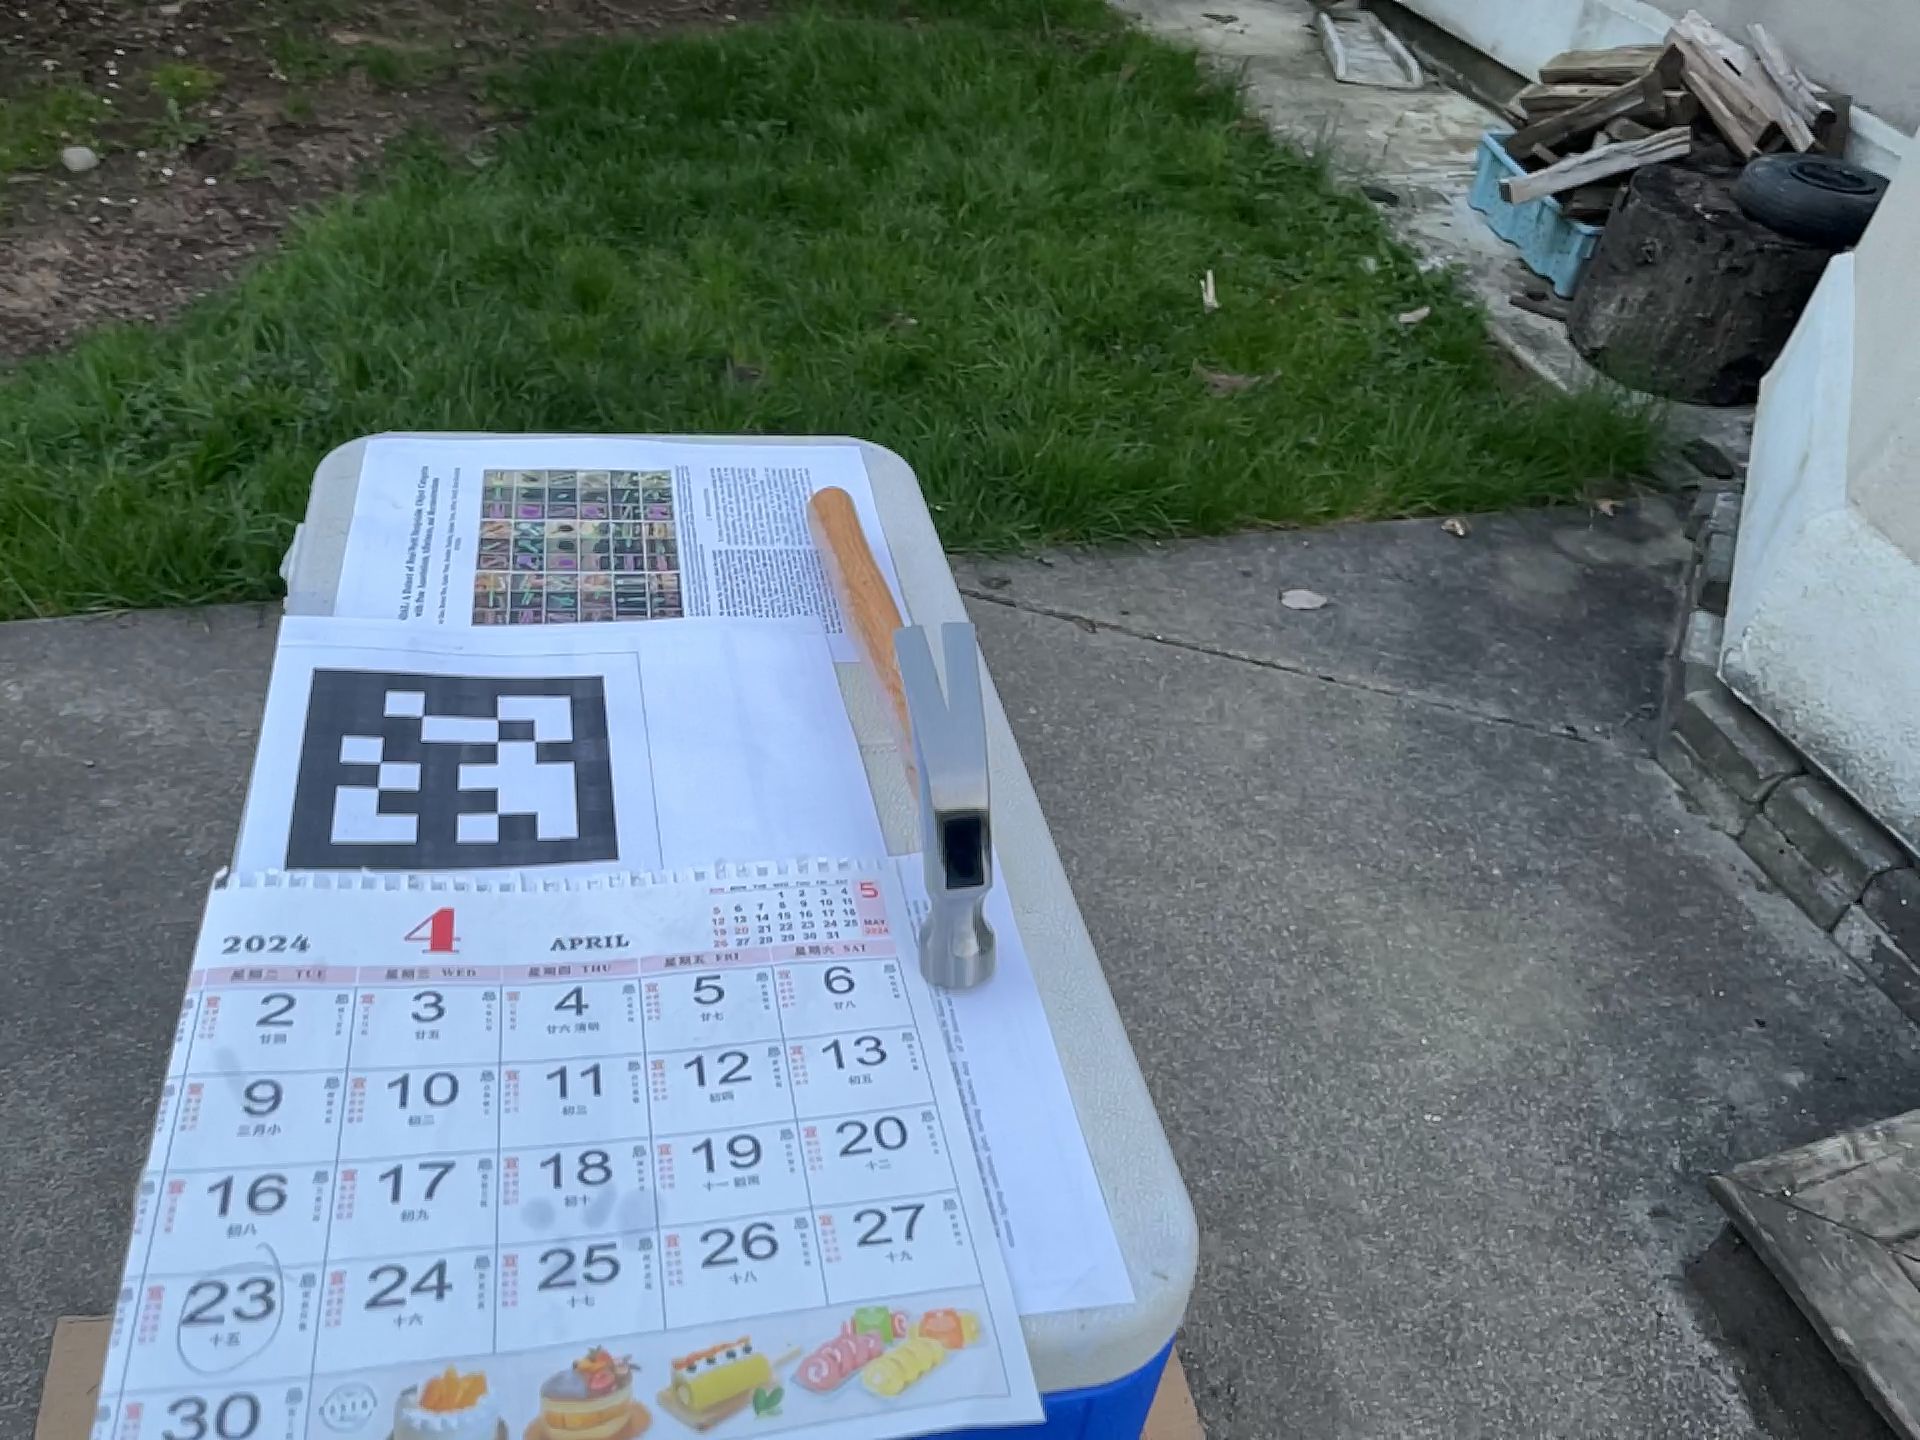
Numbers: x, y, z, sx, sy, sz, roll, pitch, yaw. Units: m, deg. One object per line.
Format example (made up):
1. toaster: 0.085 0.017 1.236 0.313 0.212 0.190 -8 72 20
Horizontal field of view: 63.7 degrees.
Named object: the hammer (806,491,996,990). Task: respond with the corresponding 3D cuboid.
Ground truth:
1. hammer: -0.034 -0.031 0.705 0.031 0.130 0.331 -6 31 -11
